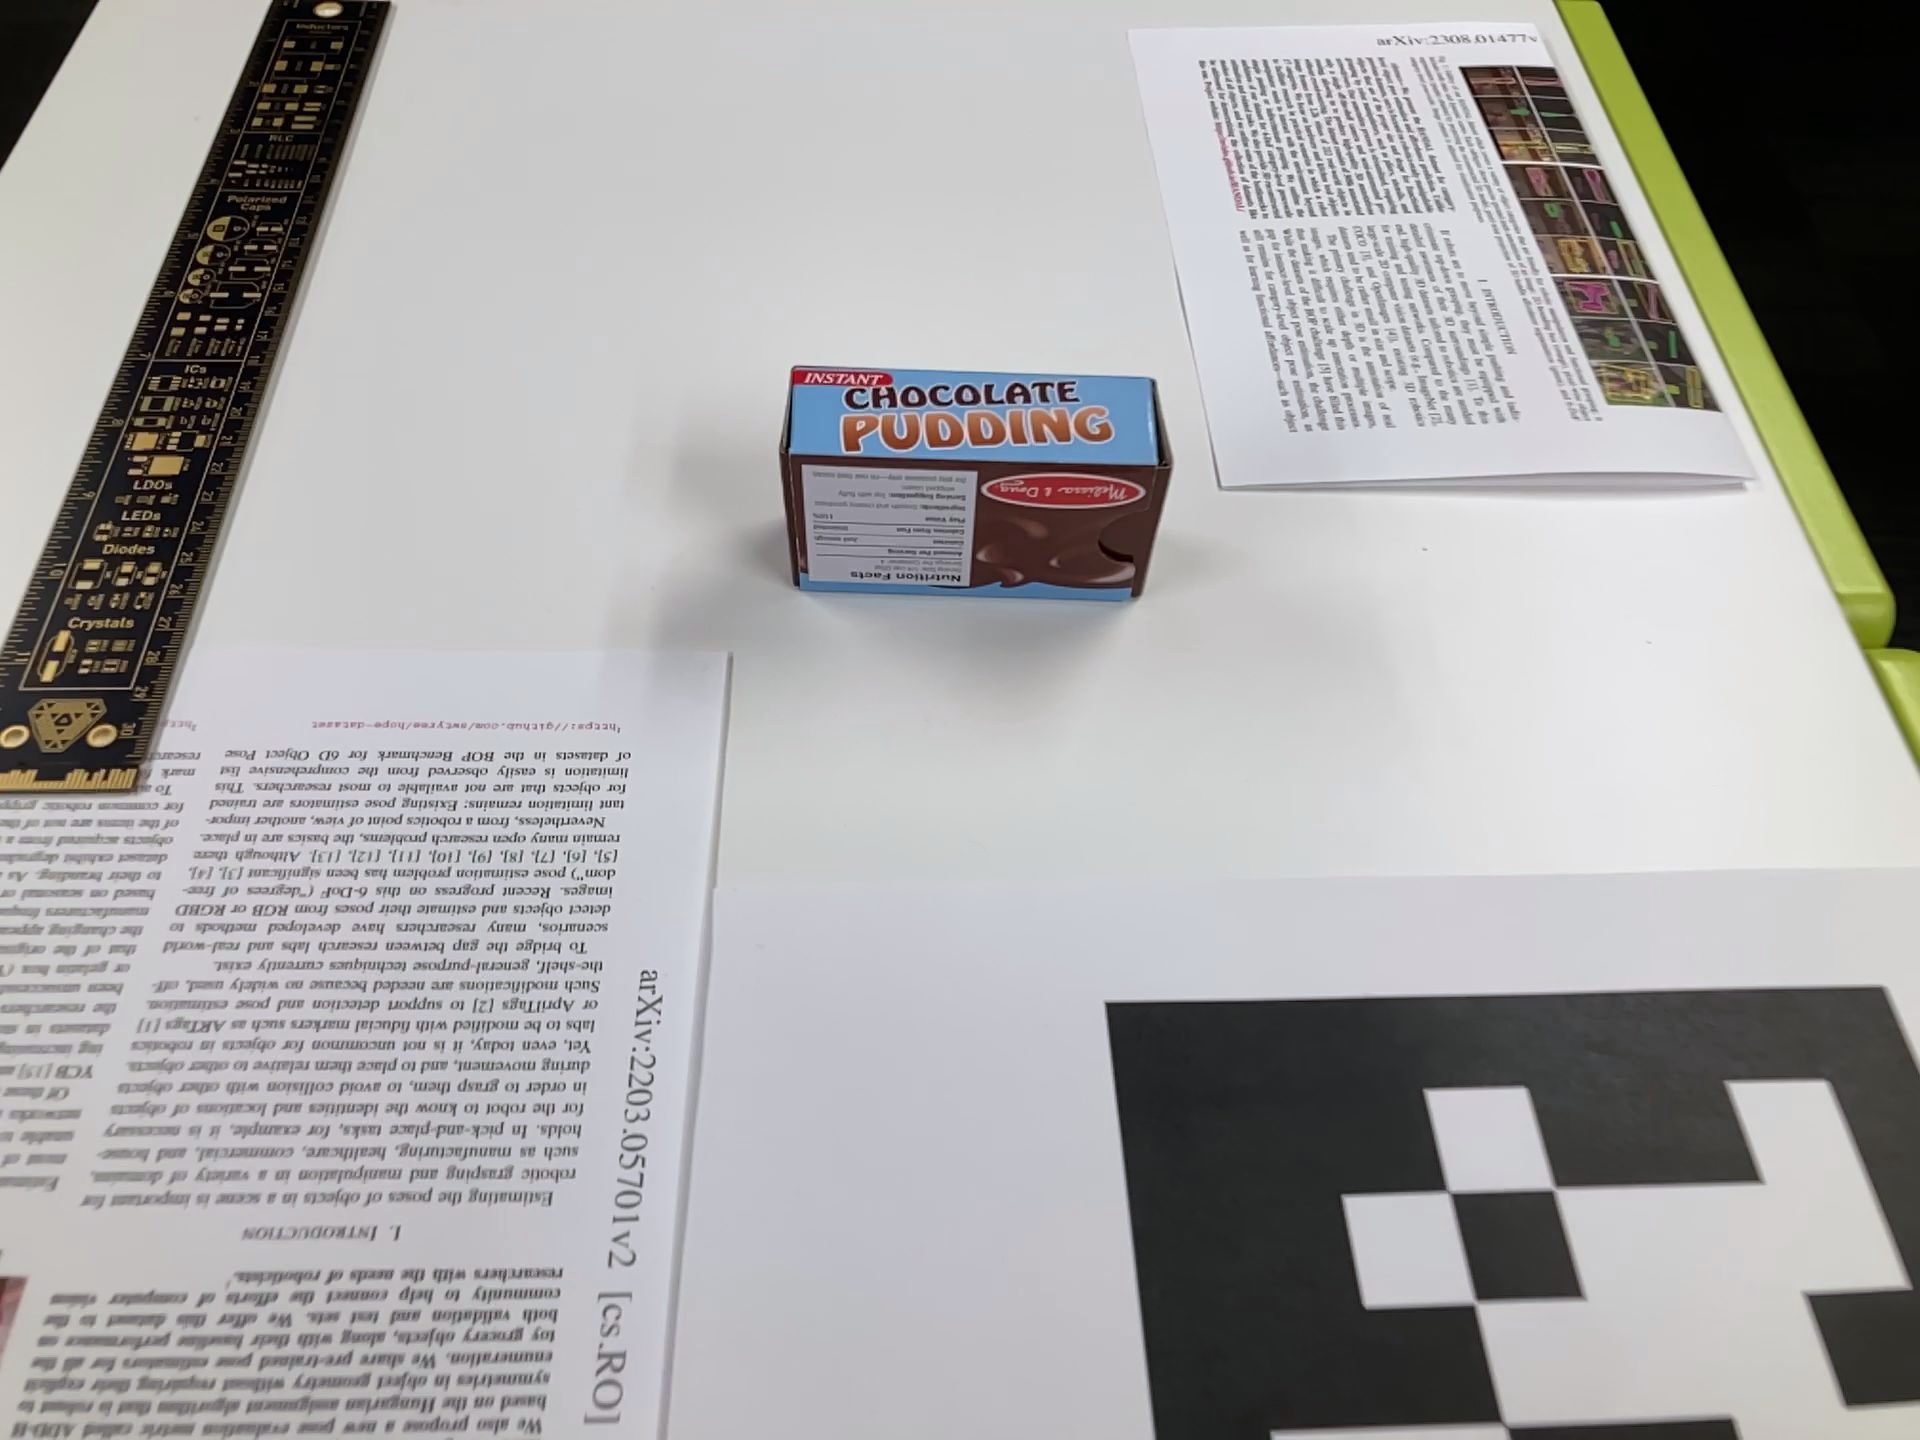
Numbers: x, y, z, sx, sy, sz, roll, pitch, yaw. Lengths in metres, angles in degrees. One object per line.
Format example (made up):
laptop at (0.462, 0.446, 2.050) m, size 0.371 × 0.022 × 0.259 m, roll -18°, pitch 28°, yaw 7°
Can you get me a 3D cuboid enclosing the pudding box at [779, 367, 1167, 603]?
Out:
pudding box at (0.002, -0.053, 0.368) m, size 0.083 × 0.049 × 0.030 m, roll 1°, pitch 55°, yaw -2°
